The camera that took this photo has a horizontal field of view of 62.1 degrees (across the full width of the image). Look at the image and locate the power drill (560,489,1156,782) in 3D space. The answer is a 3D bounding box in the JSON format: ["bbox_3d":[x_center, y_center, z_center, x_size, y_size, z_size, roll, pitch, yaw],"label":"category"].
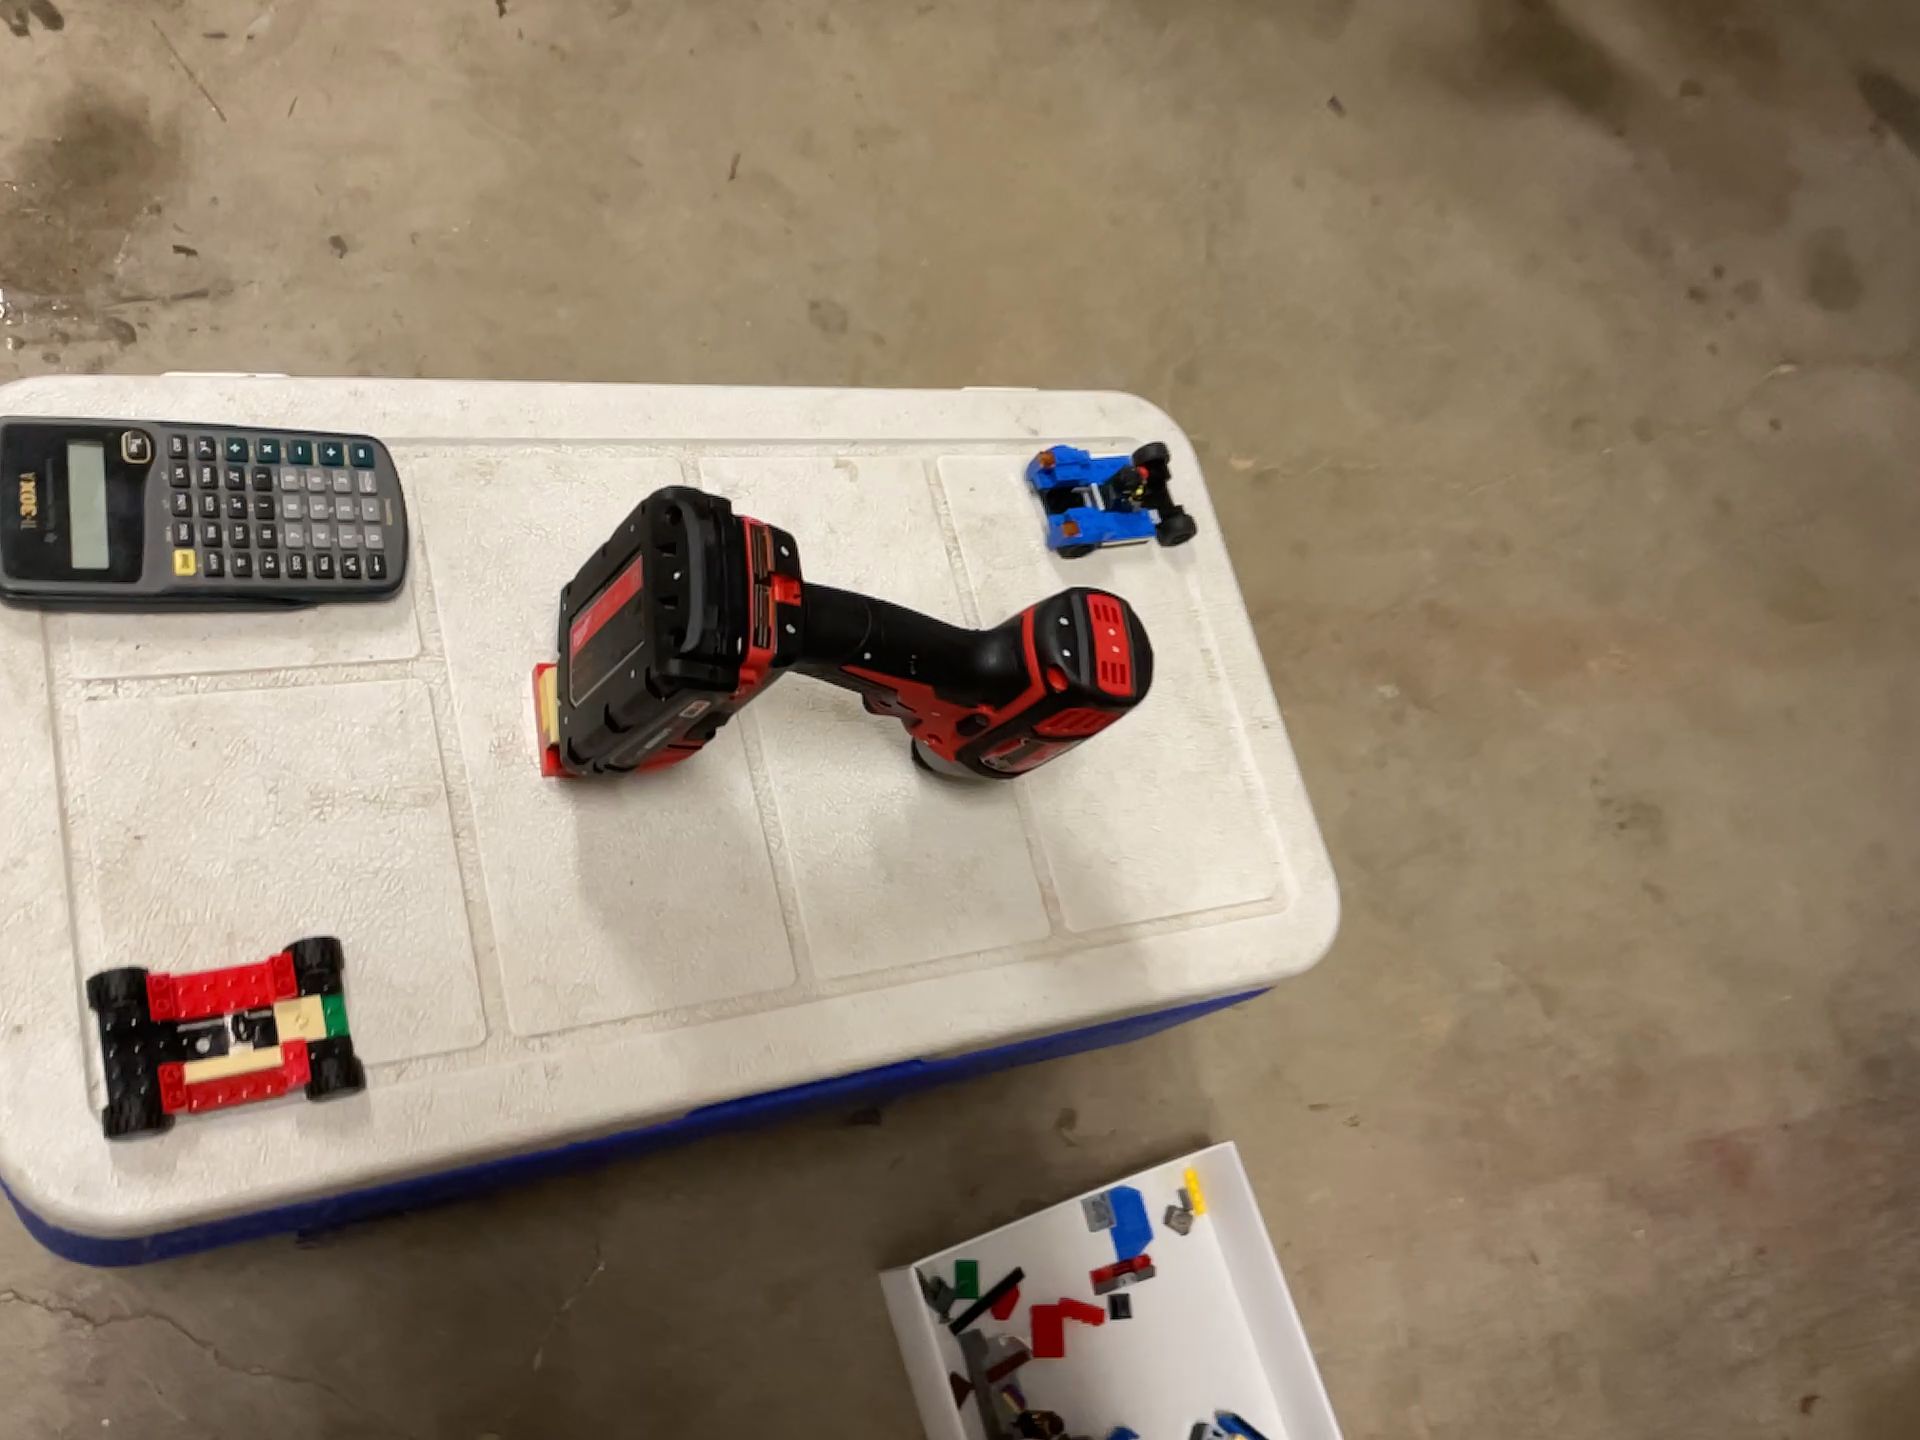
[{"bbox_3d":[-0.044,-0.018,0.656,0.219,0.143,0.079,8,66,-32],"label":"power drill"}]
